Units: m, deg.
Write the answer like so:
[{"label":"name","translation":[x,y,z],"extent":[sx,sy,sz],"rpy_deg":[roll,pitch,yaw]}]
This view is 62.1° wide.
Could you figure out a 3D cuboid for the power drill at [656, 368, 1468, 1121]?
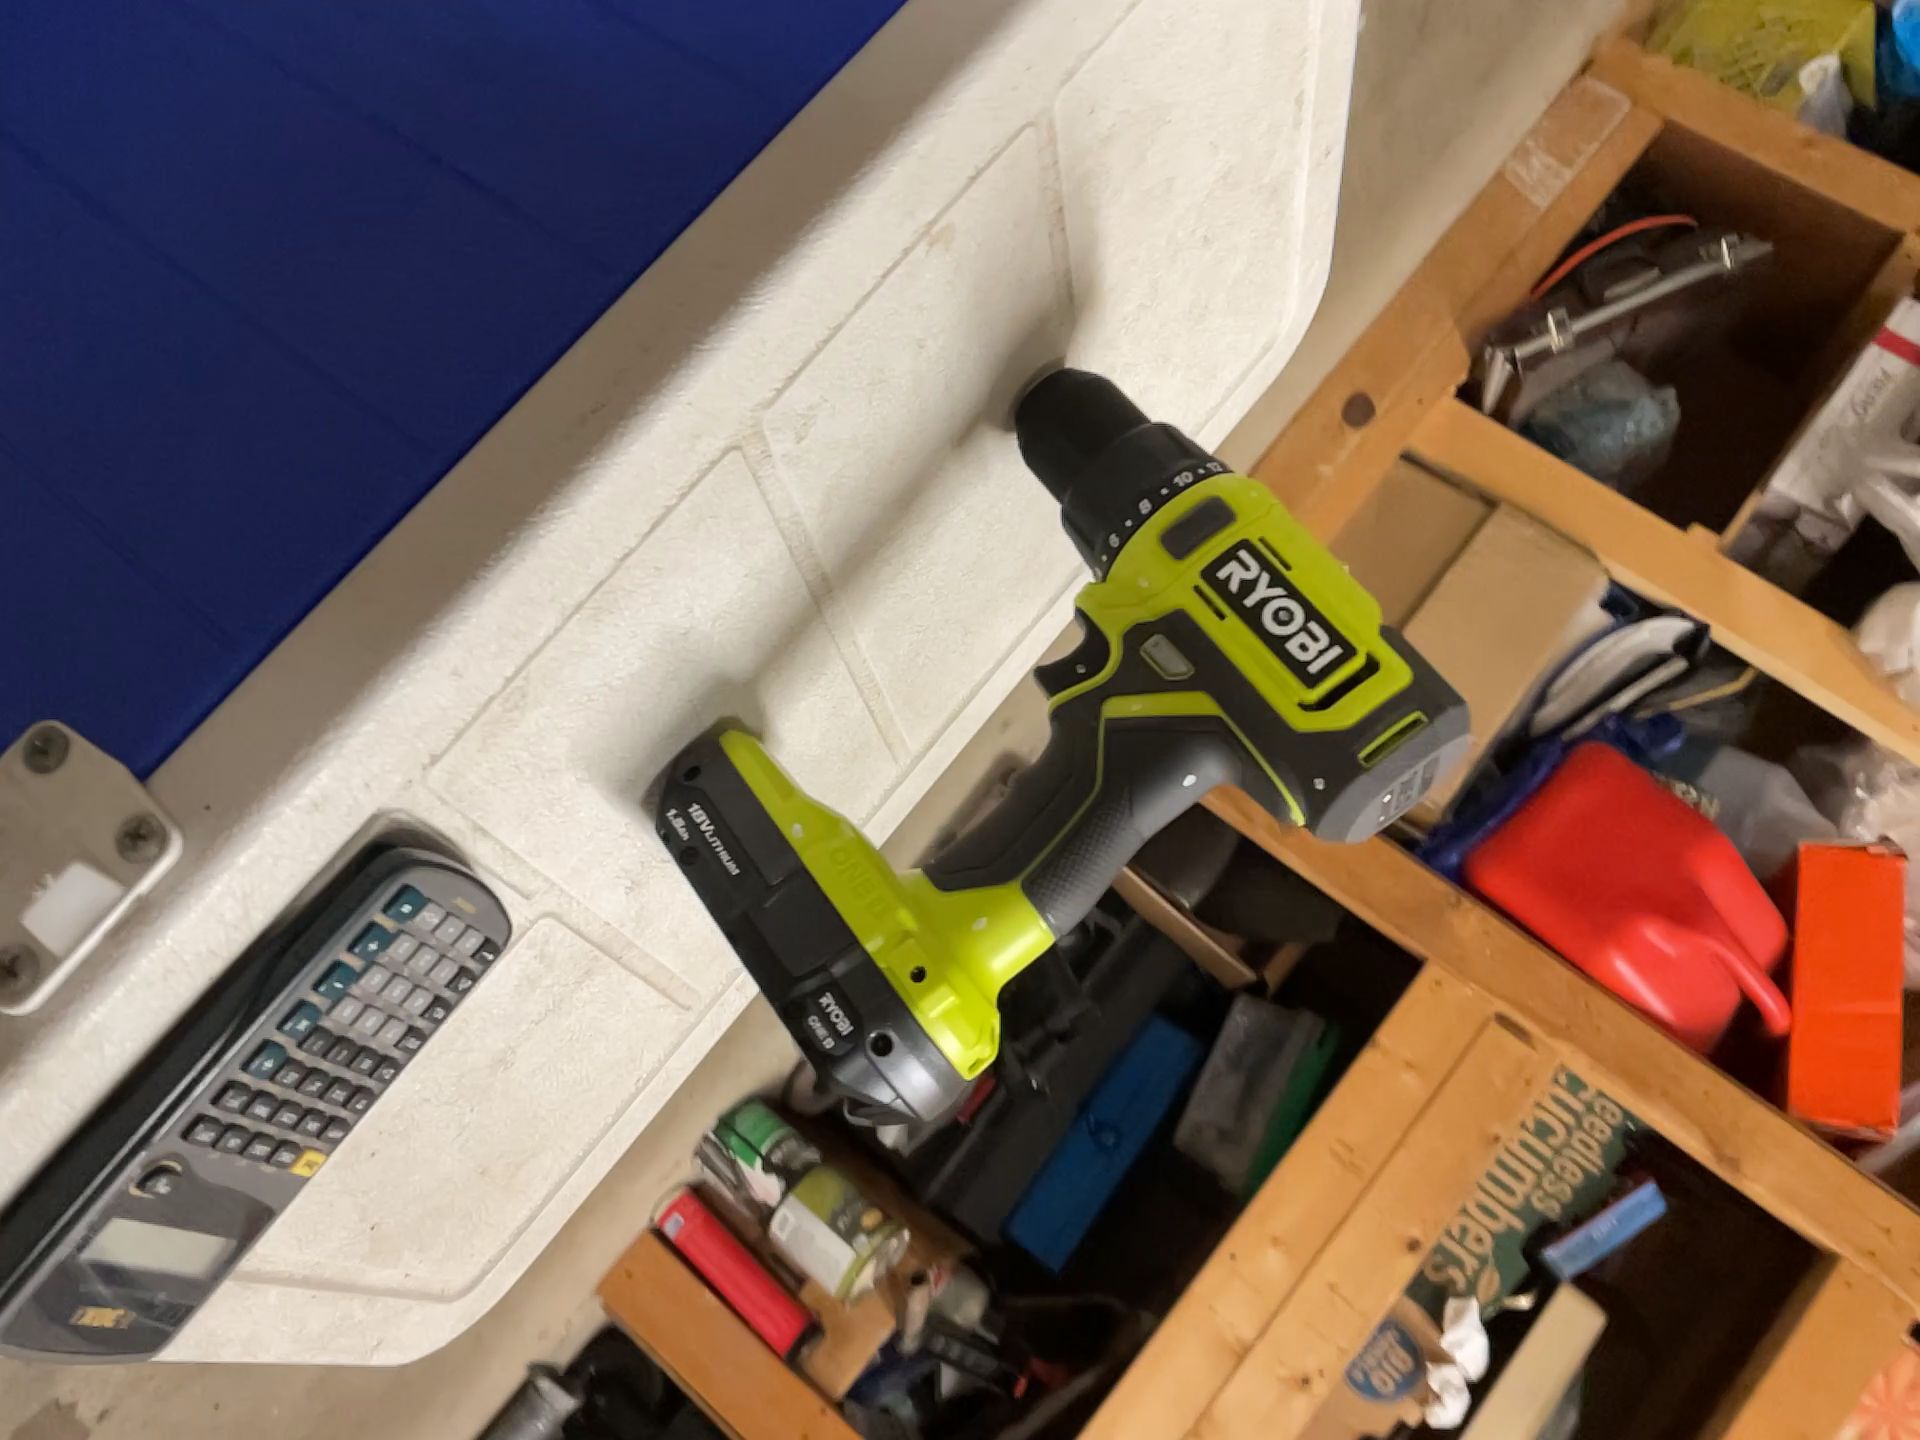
[{"label":"power drill","translation":[0.021,0.001,0.526],"extent":[0.228,0.190,0.080],"rpy_deg":[-37,158,-5]}]
